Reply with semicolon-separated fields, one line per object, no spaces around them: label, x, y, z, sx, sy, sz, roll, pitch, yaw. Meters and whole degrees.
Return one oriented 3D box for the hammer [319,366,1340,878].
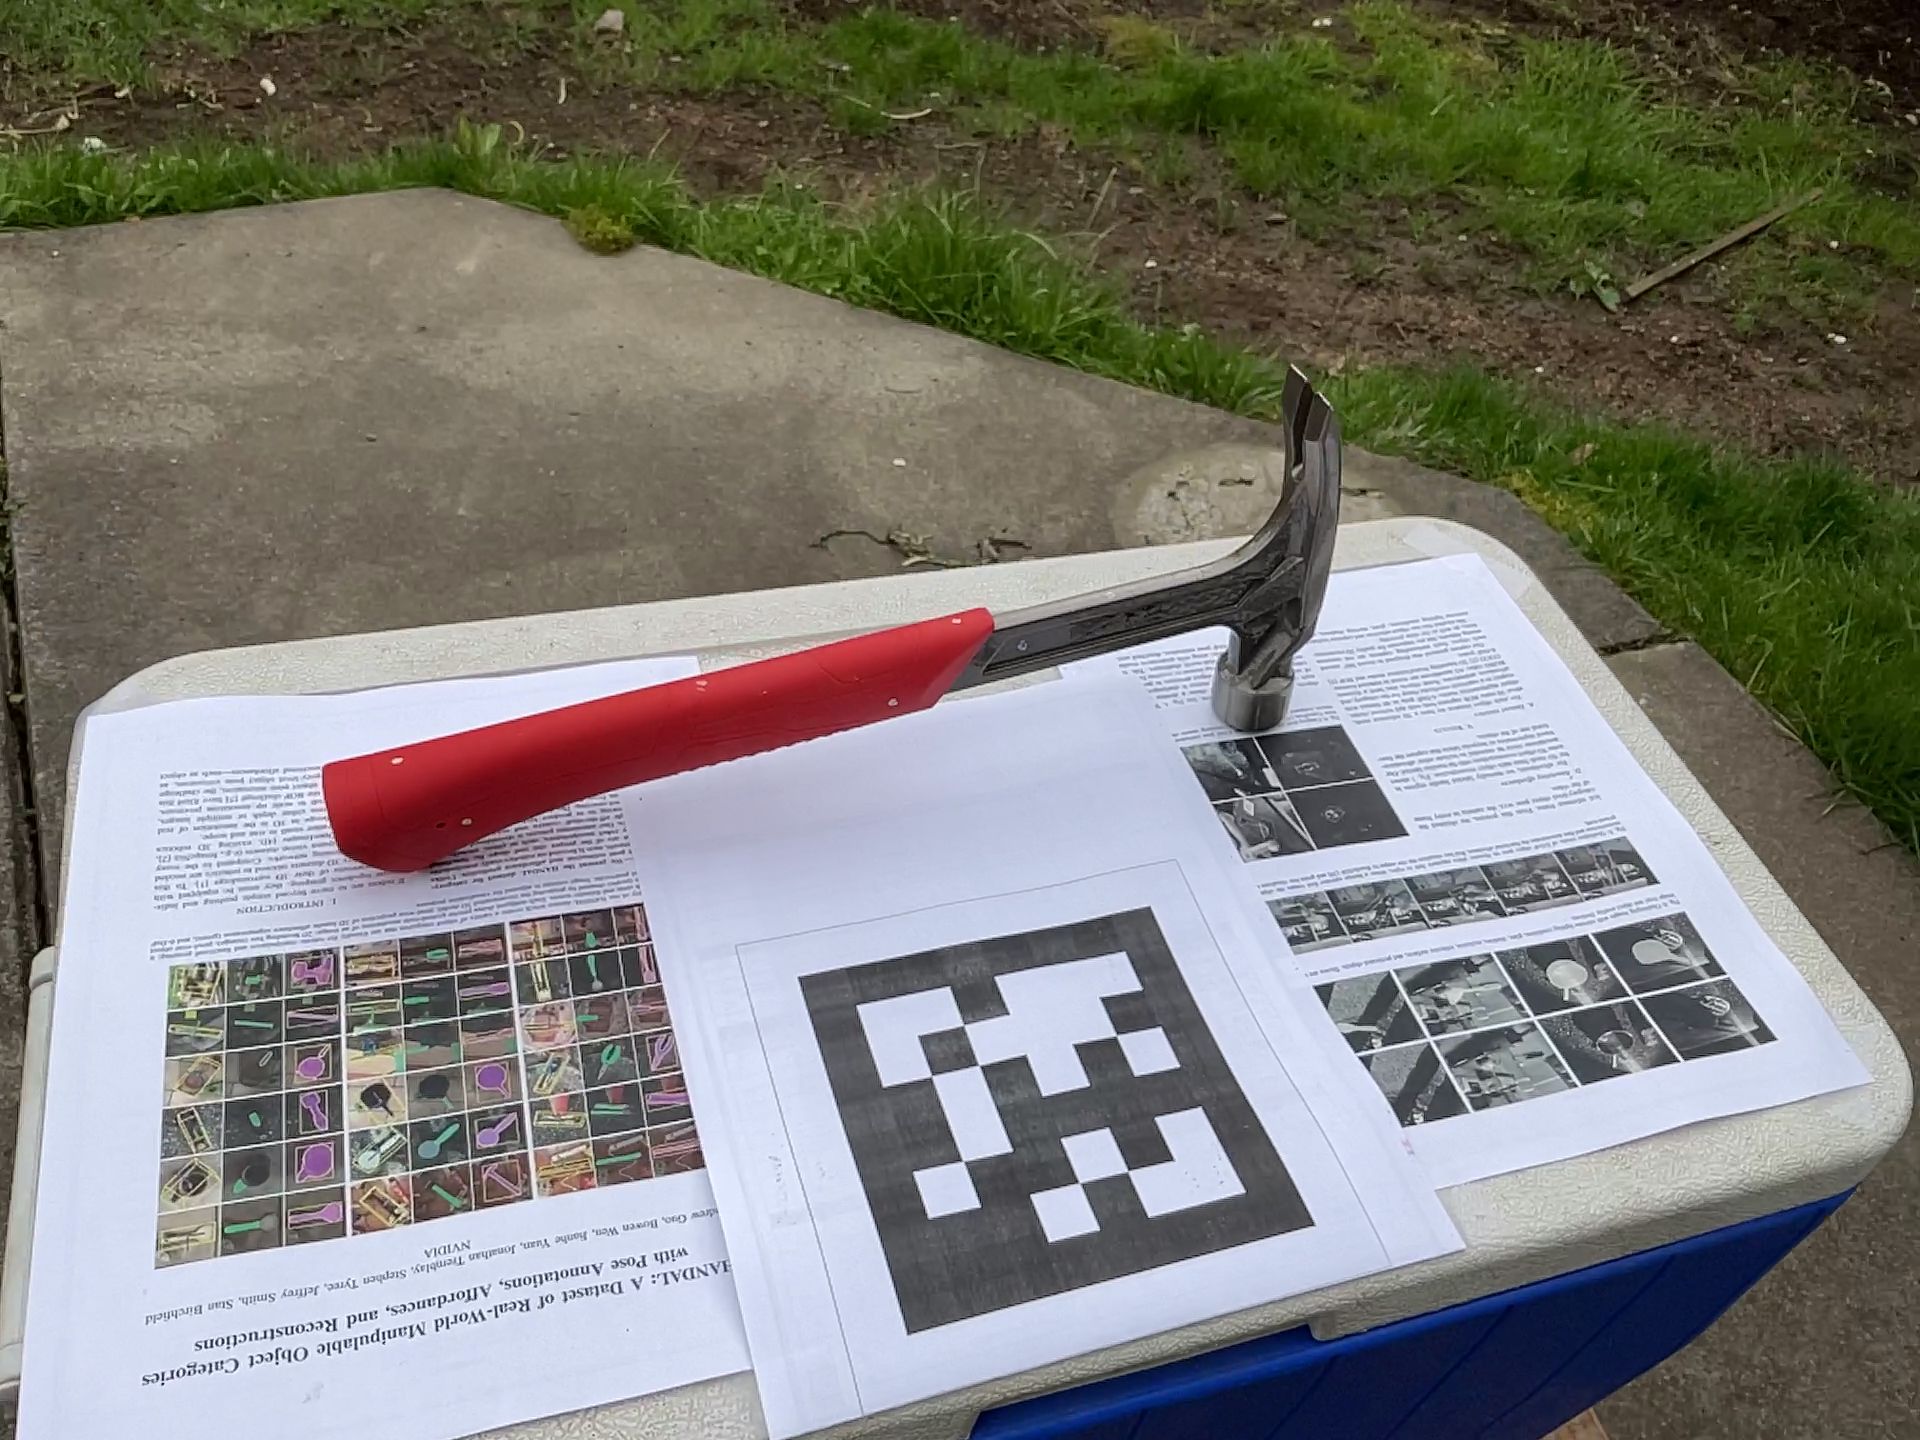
hammer;-0.037;-0.019;0.558;0.359;0.149;0.037;-14;44;-13
